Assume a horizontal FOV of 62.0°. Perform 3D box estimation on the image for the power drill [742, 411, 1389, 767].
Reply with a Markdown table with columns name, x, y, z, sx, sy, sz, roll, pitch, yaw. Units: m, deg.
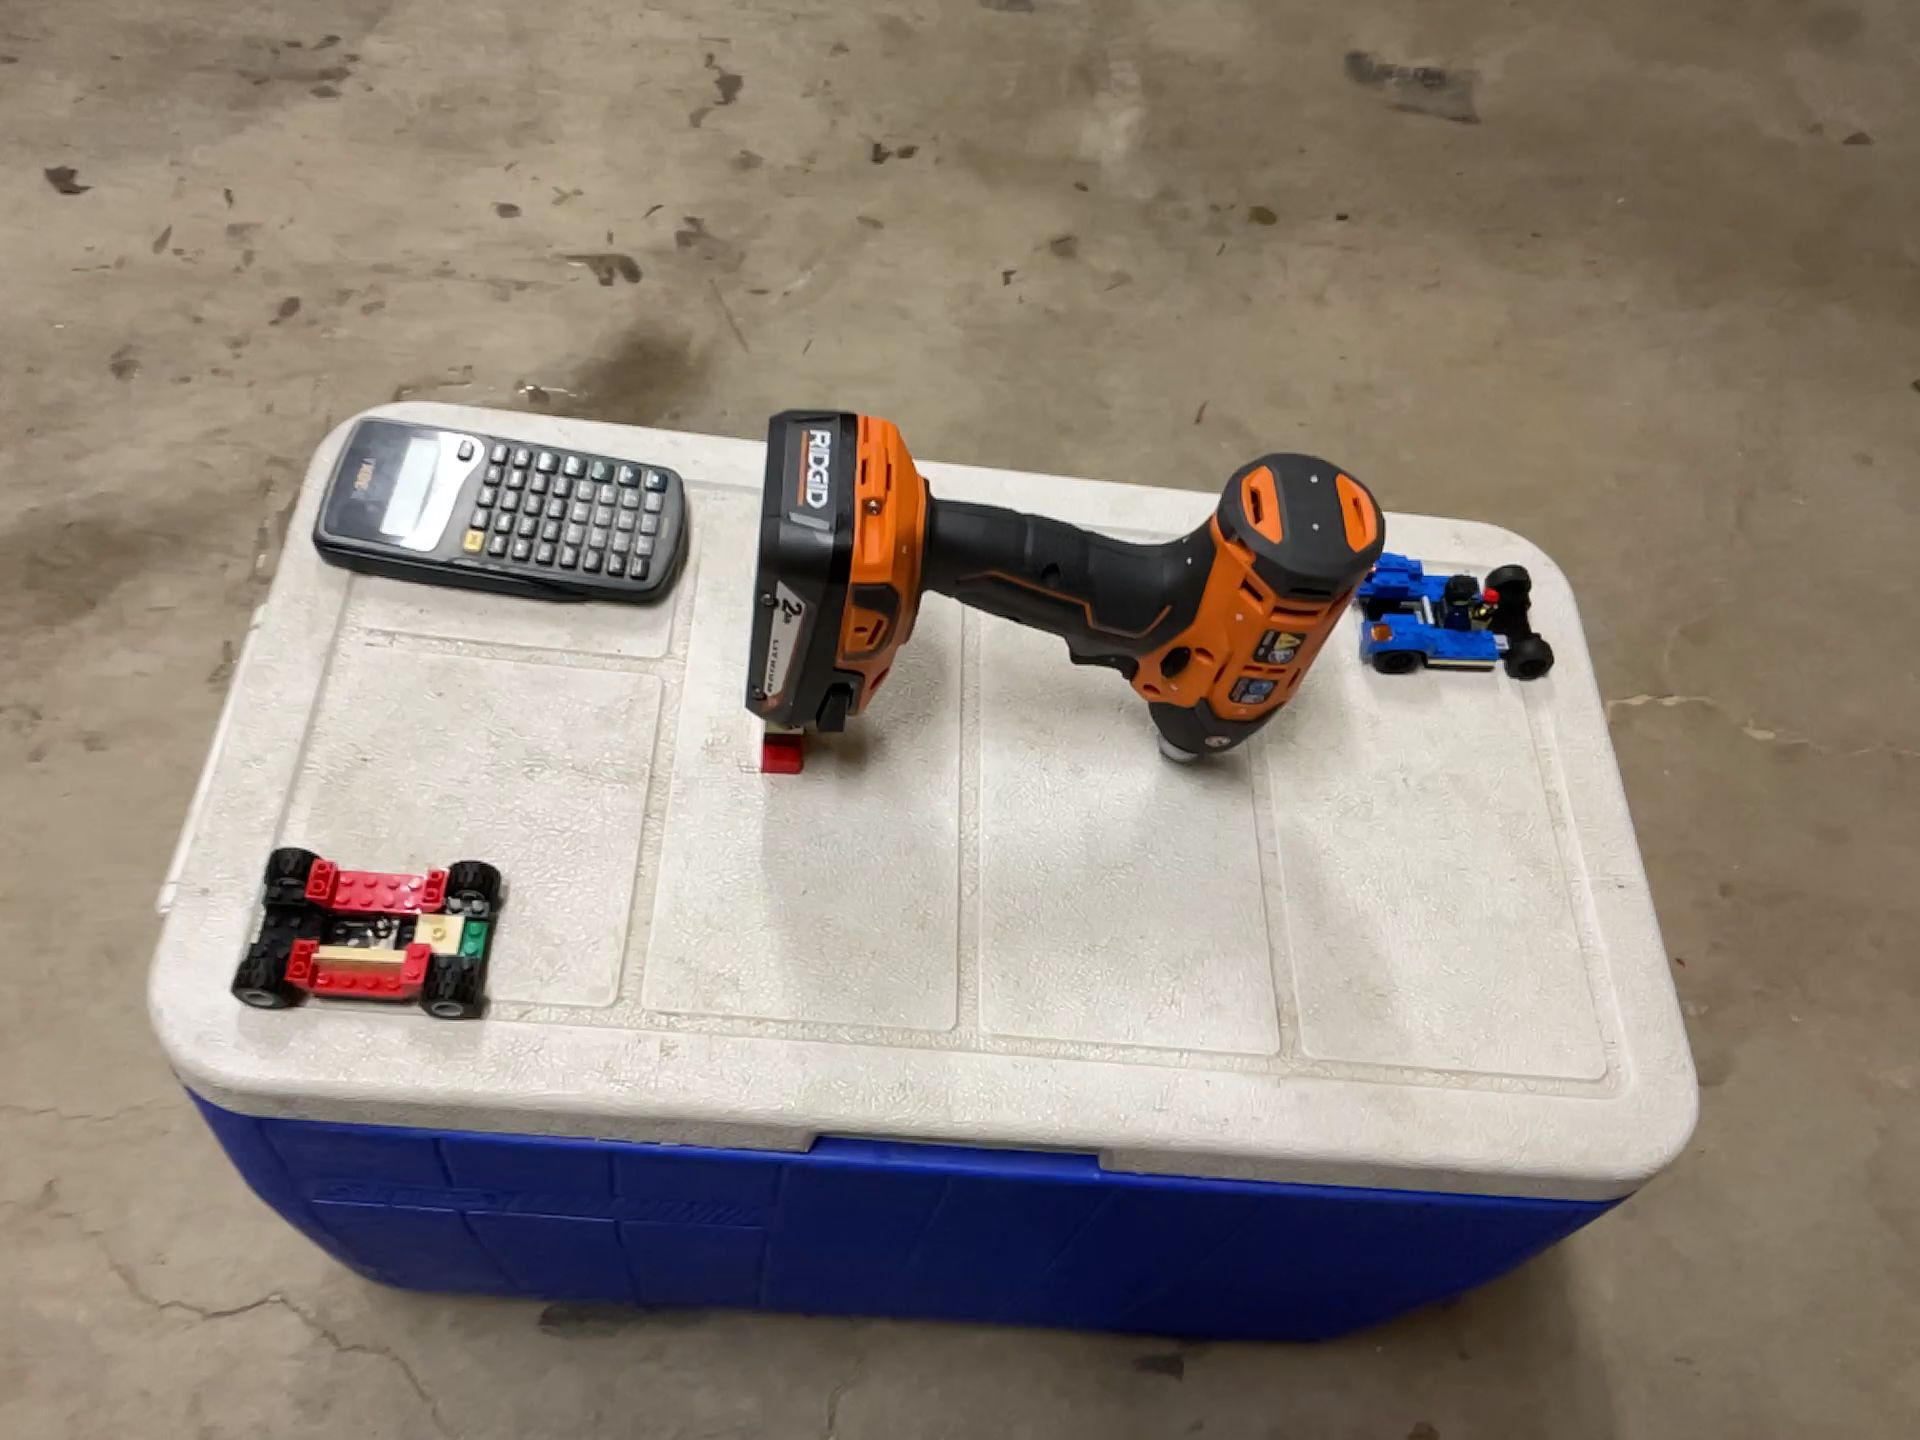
| name | x | y | z | sx | sy | sz | roll | pitch | yaw |
| --- | --- | --- | --- | --- | --- | --- | --- | --- | --- |
| power drill | 0.032 | -0.039 | 0.627 | 0.226 | 0.164 | 0.084 | 5 | 55 | -8 |
